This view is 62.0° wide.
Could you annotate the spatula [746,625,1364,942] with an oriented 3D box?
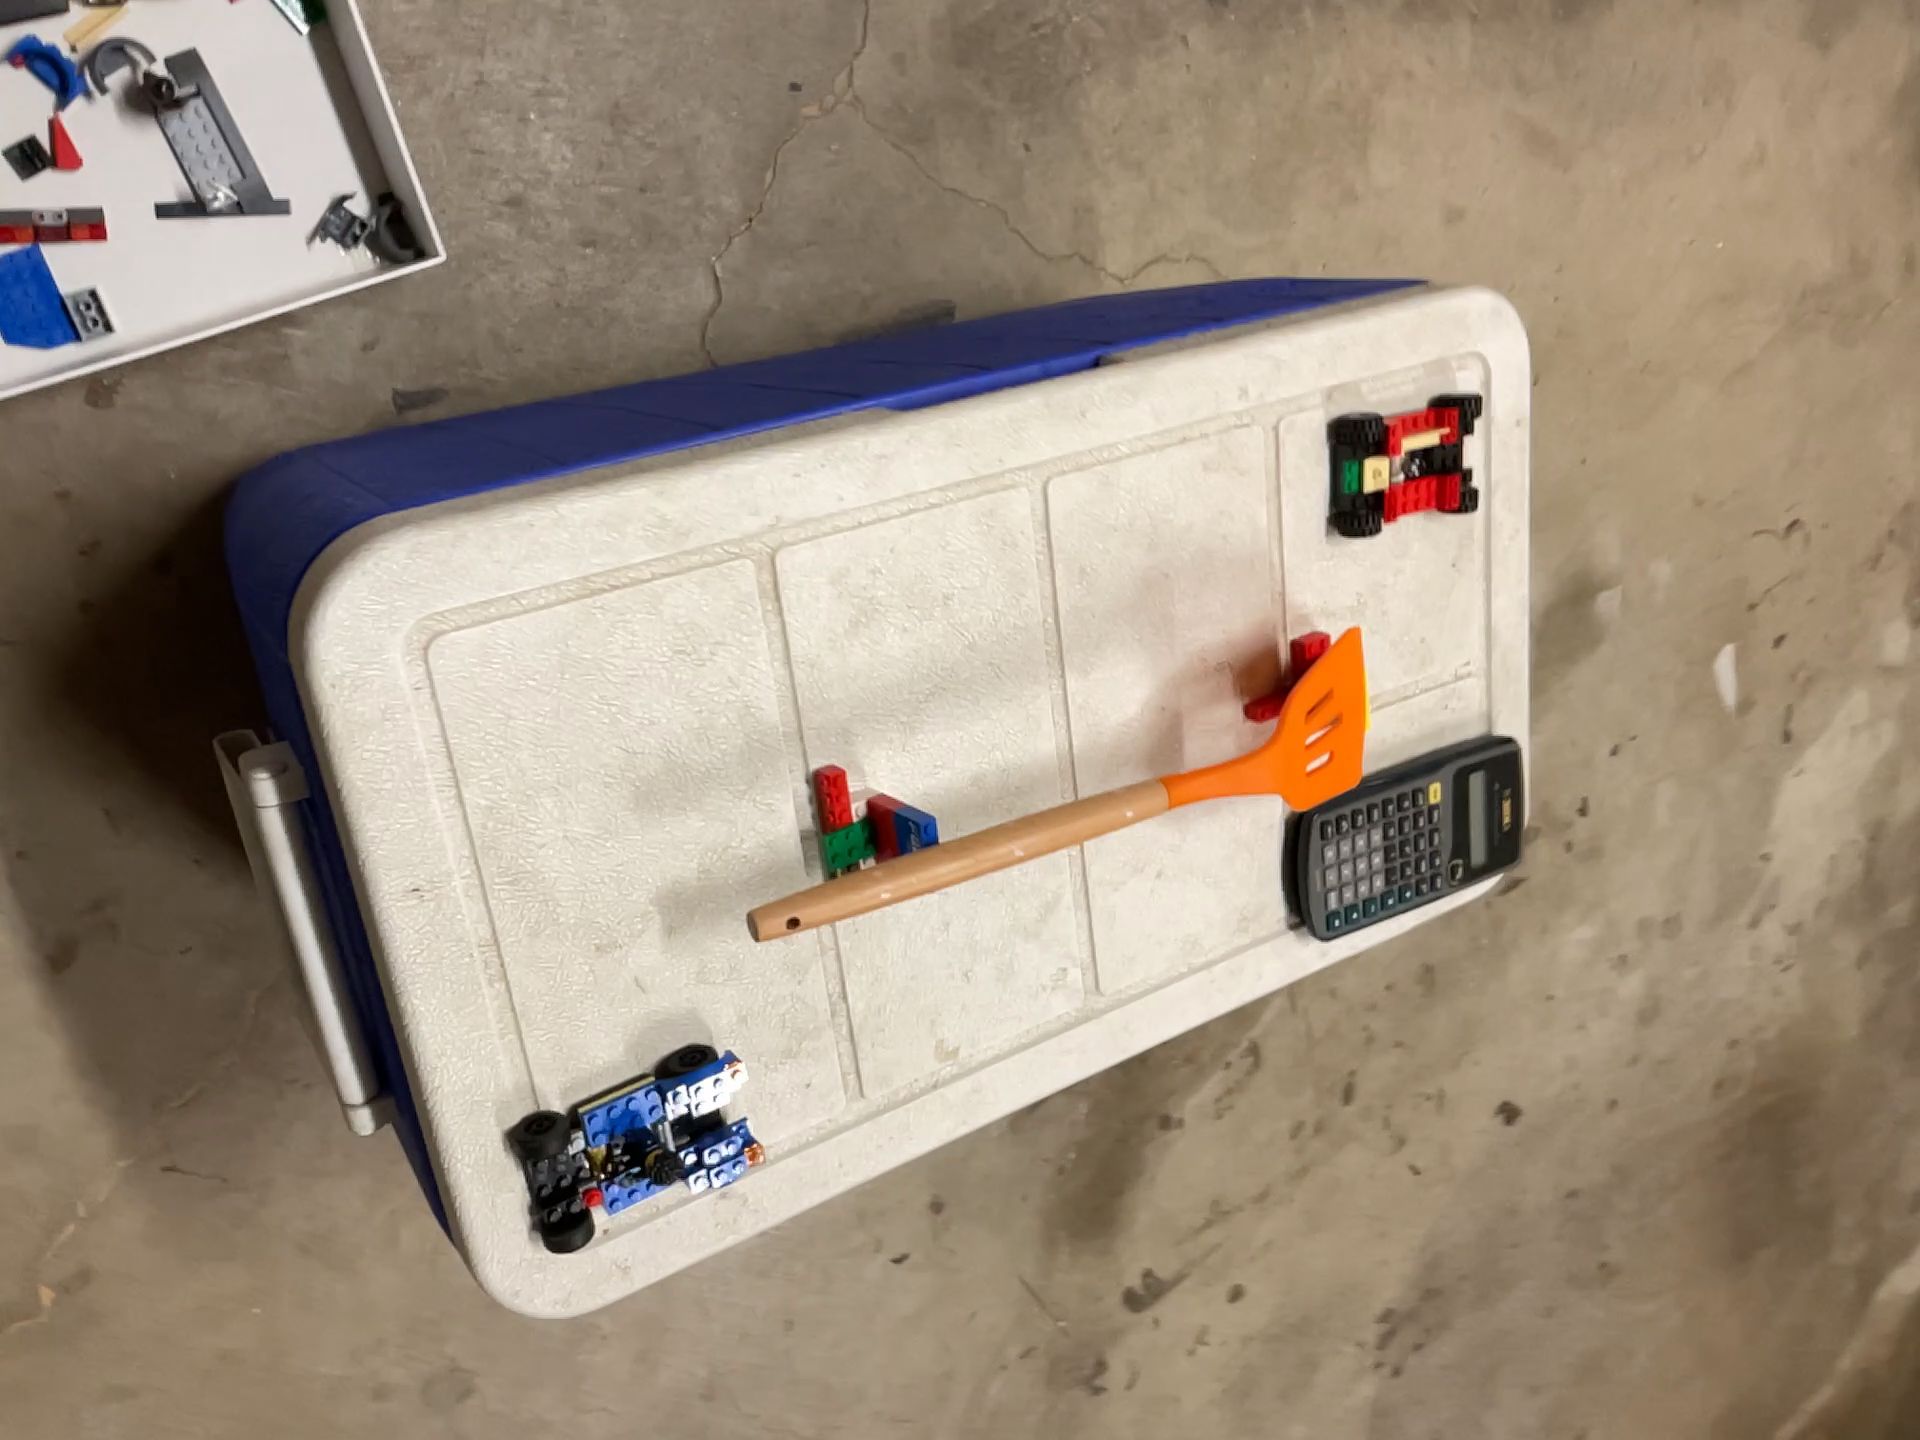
[{"bbox_3d":[0.059,0.036,0.675,0.323,0.041,0.081,-16,113,-24],"label":"spatula"}]
